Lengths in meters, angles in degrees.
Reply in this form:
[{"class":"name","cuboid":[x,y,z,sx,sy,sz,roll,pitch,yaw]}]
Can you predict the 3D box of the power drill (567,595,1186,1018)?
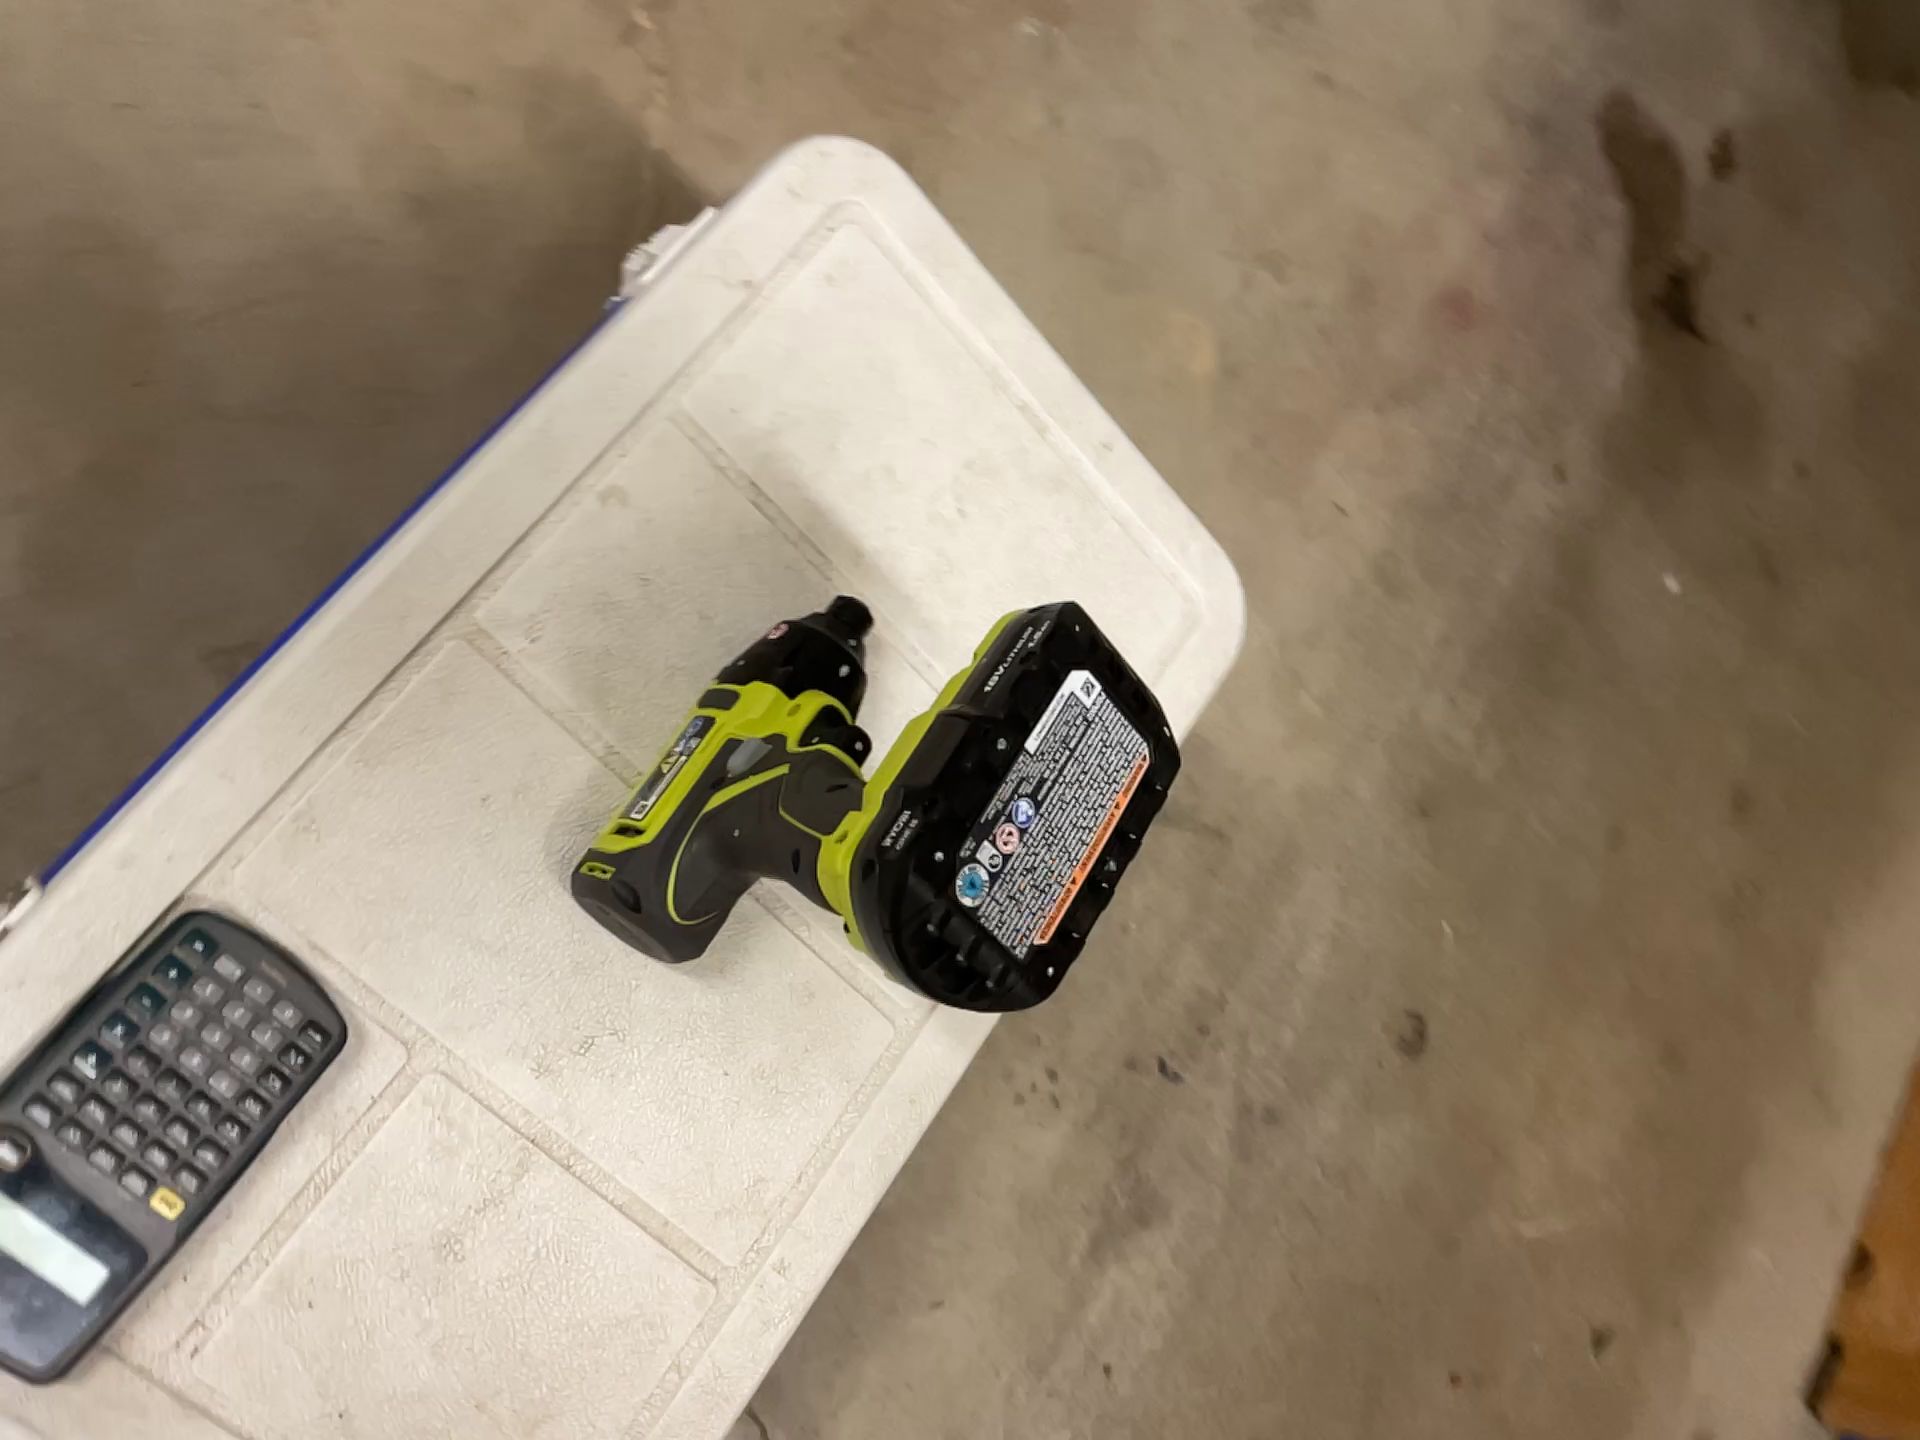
[{"class":"power drill","cuboid":[-0.036,0.019,0.586,0.080,0.223,0.171,48,64,-30]}]
